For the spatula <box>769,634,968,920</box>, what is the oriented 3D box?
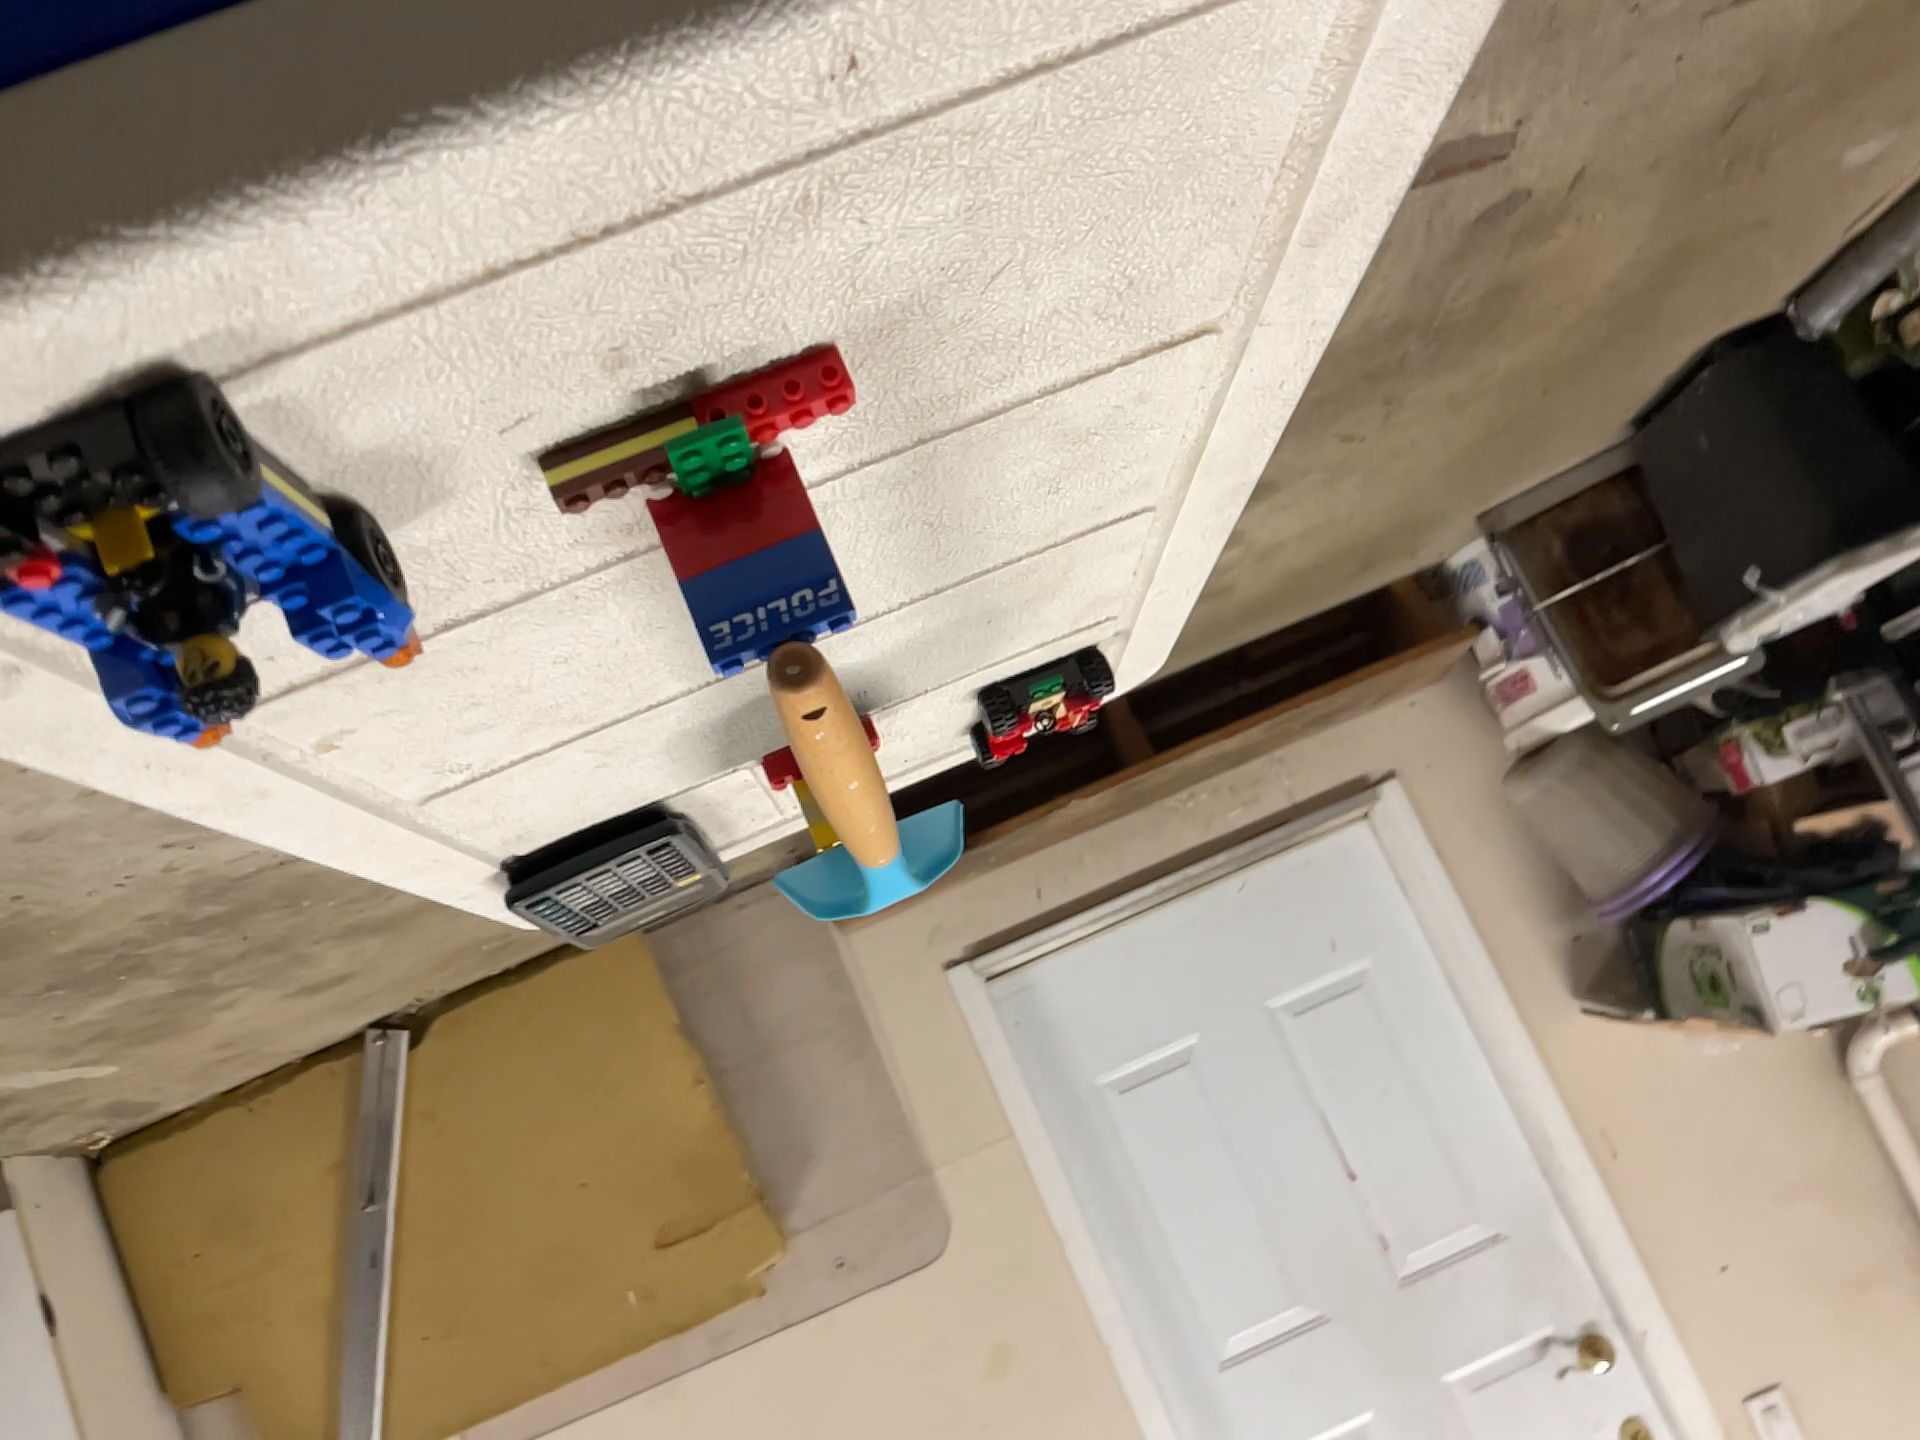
[{"bbox_3d":[-0.032,0.022,0.474,0.082,0.044,0.317,-22,165,-5],"label":"spatula"}]
